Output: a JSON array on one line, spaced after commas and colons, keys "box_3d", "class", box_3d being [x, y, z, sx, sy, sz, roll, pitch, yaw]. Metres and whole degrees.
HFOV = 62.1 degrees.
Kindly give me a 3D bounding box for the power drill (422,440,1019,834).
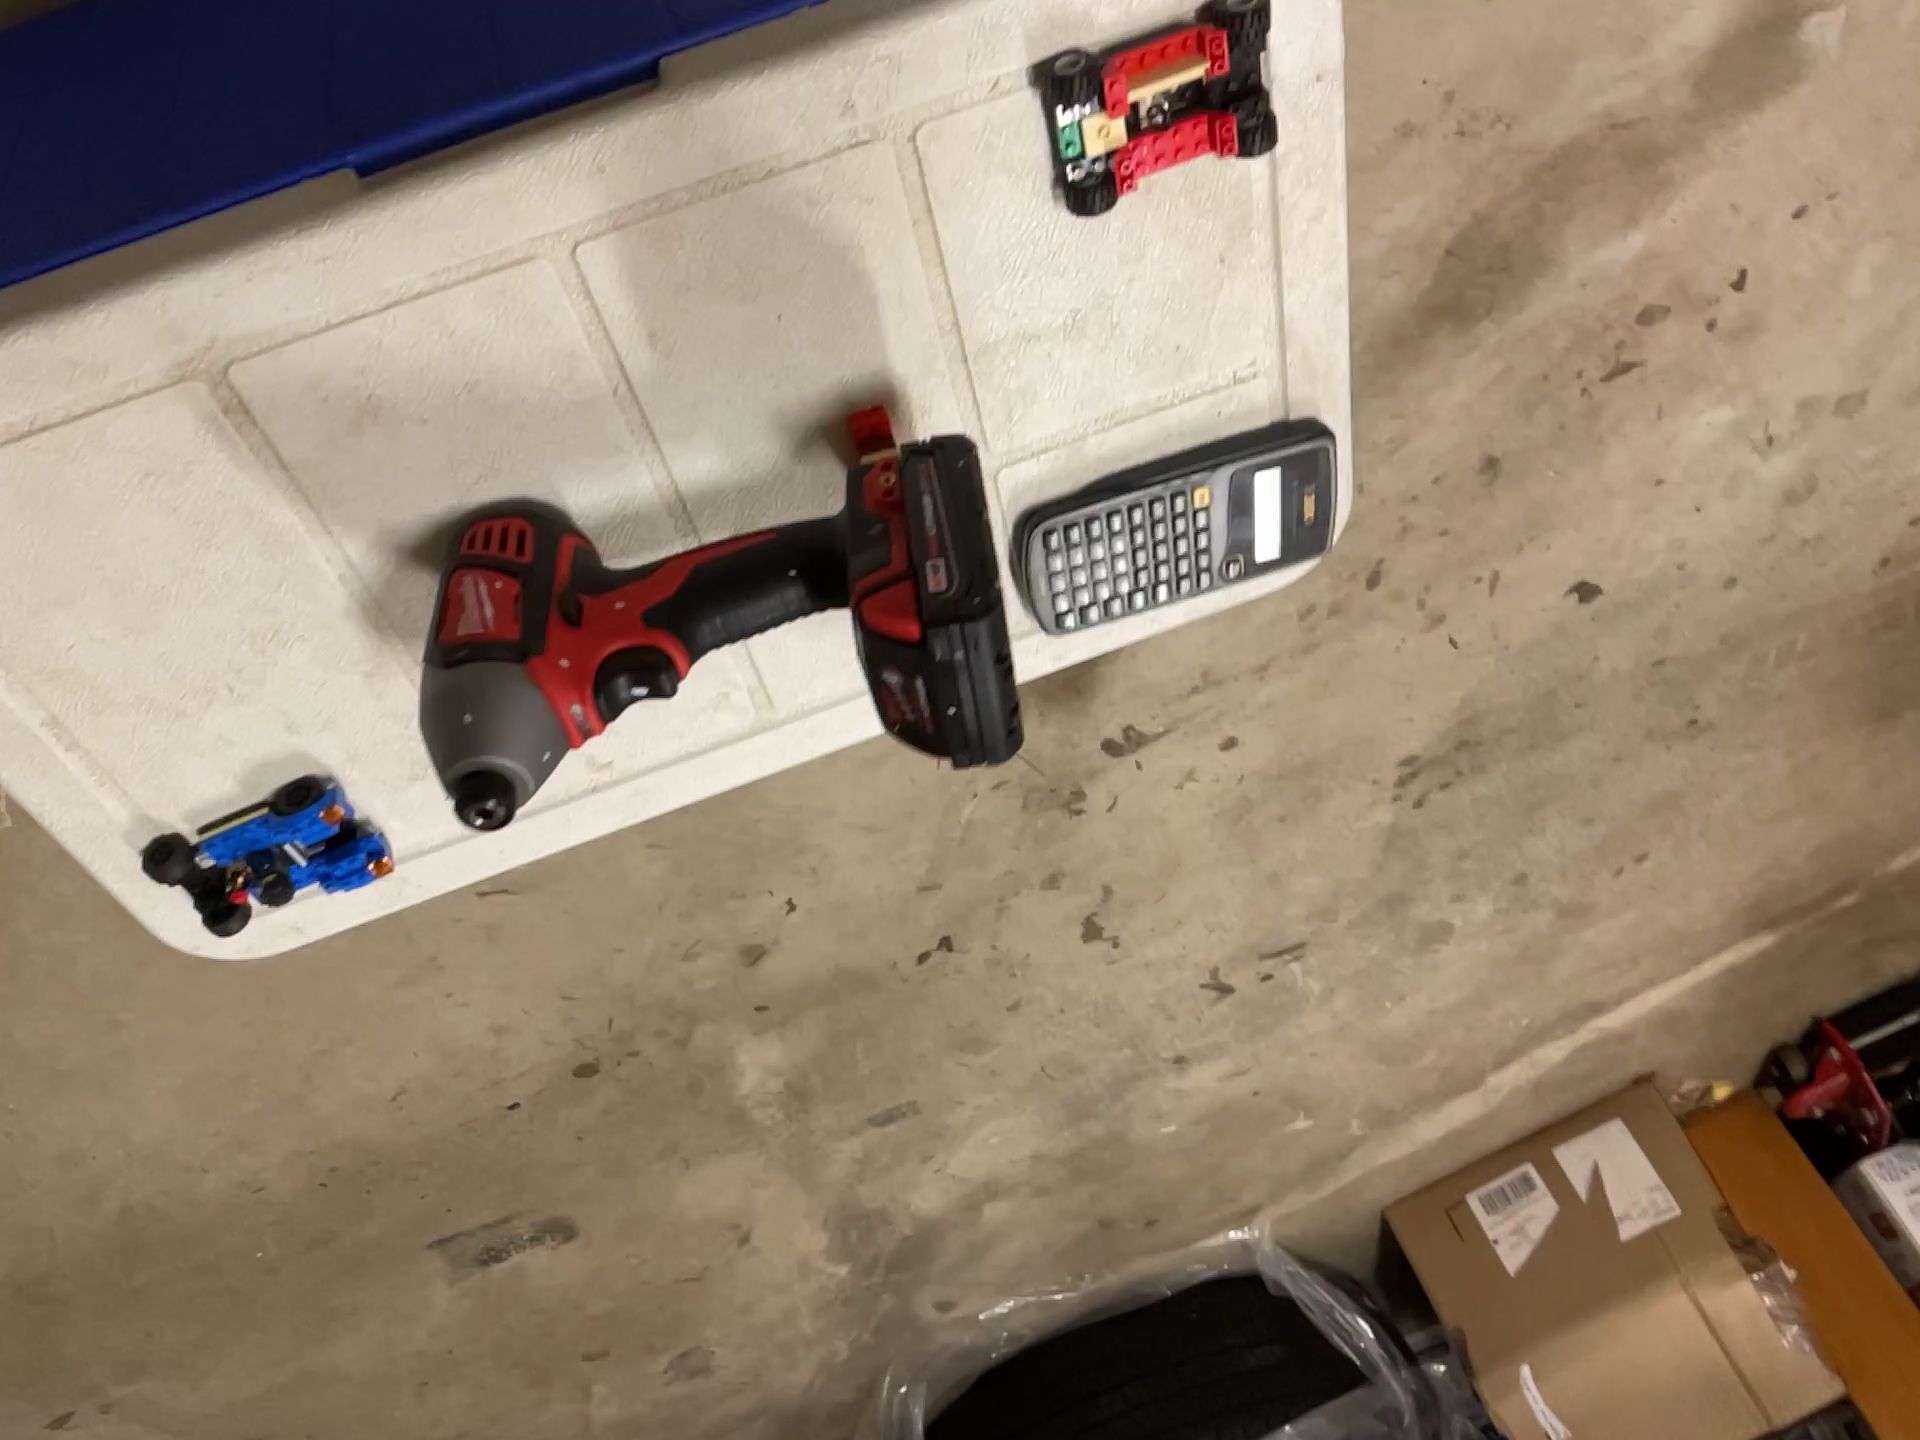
[{"box_3d": [-0.093, -0.029, 0.605, 0.219, 0.143, 0.078, -8, 137, 3], "class": "power drill"}]
